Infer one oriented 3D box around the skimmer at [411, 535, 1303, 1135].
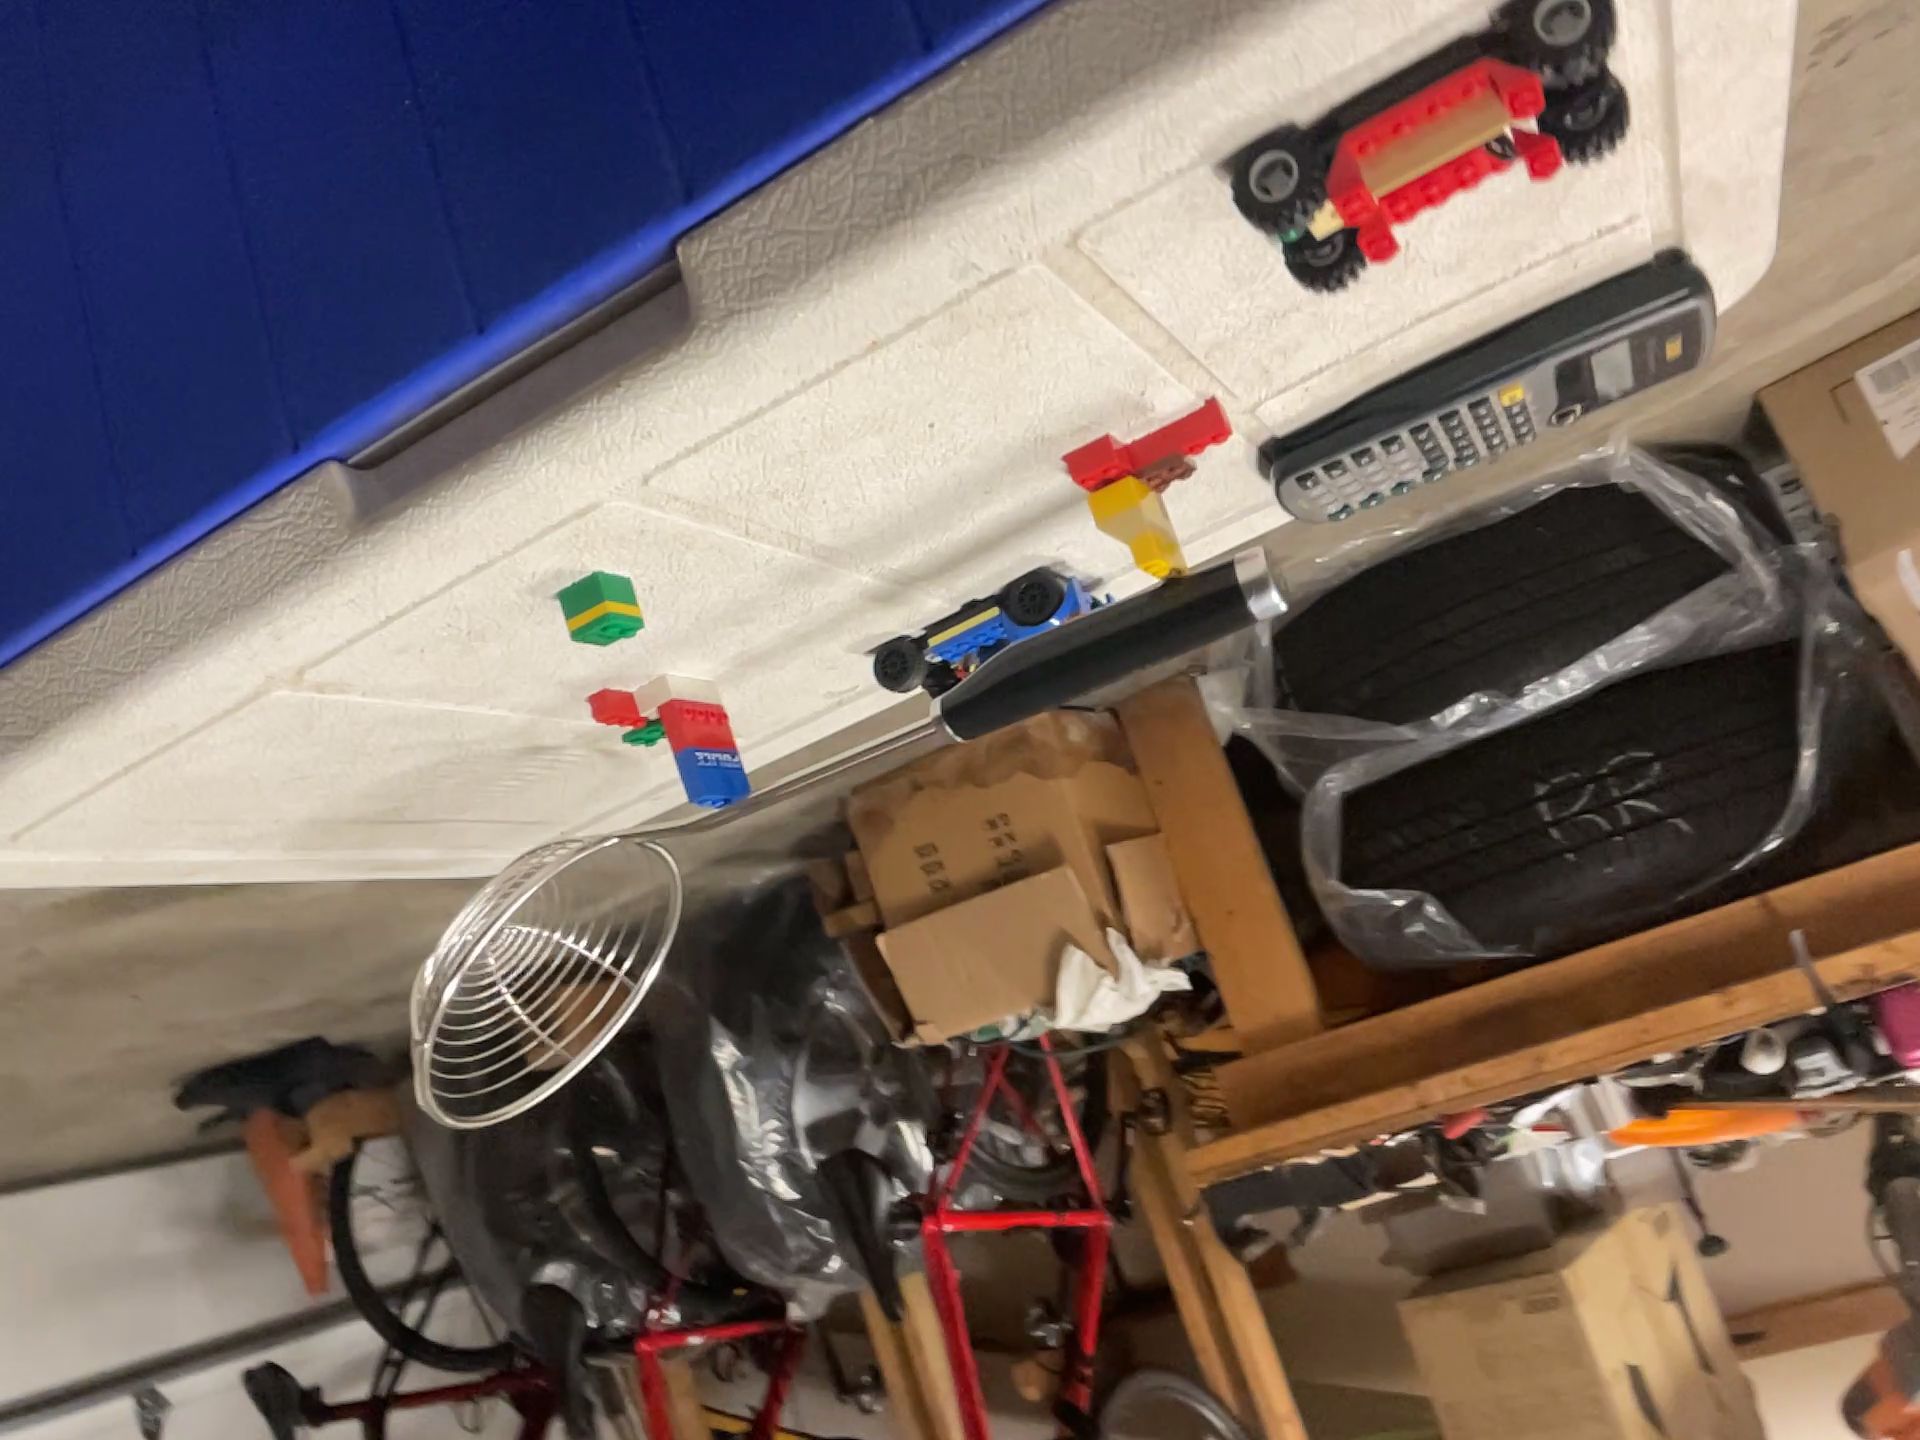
[{"bbox_3d":[-0.043,0.048,0.550,0.363,0.090,0.127,-24,168,22],"label":"skimmer"}]
